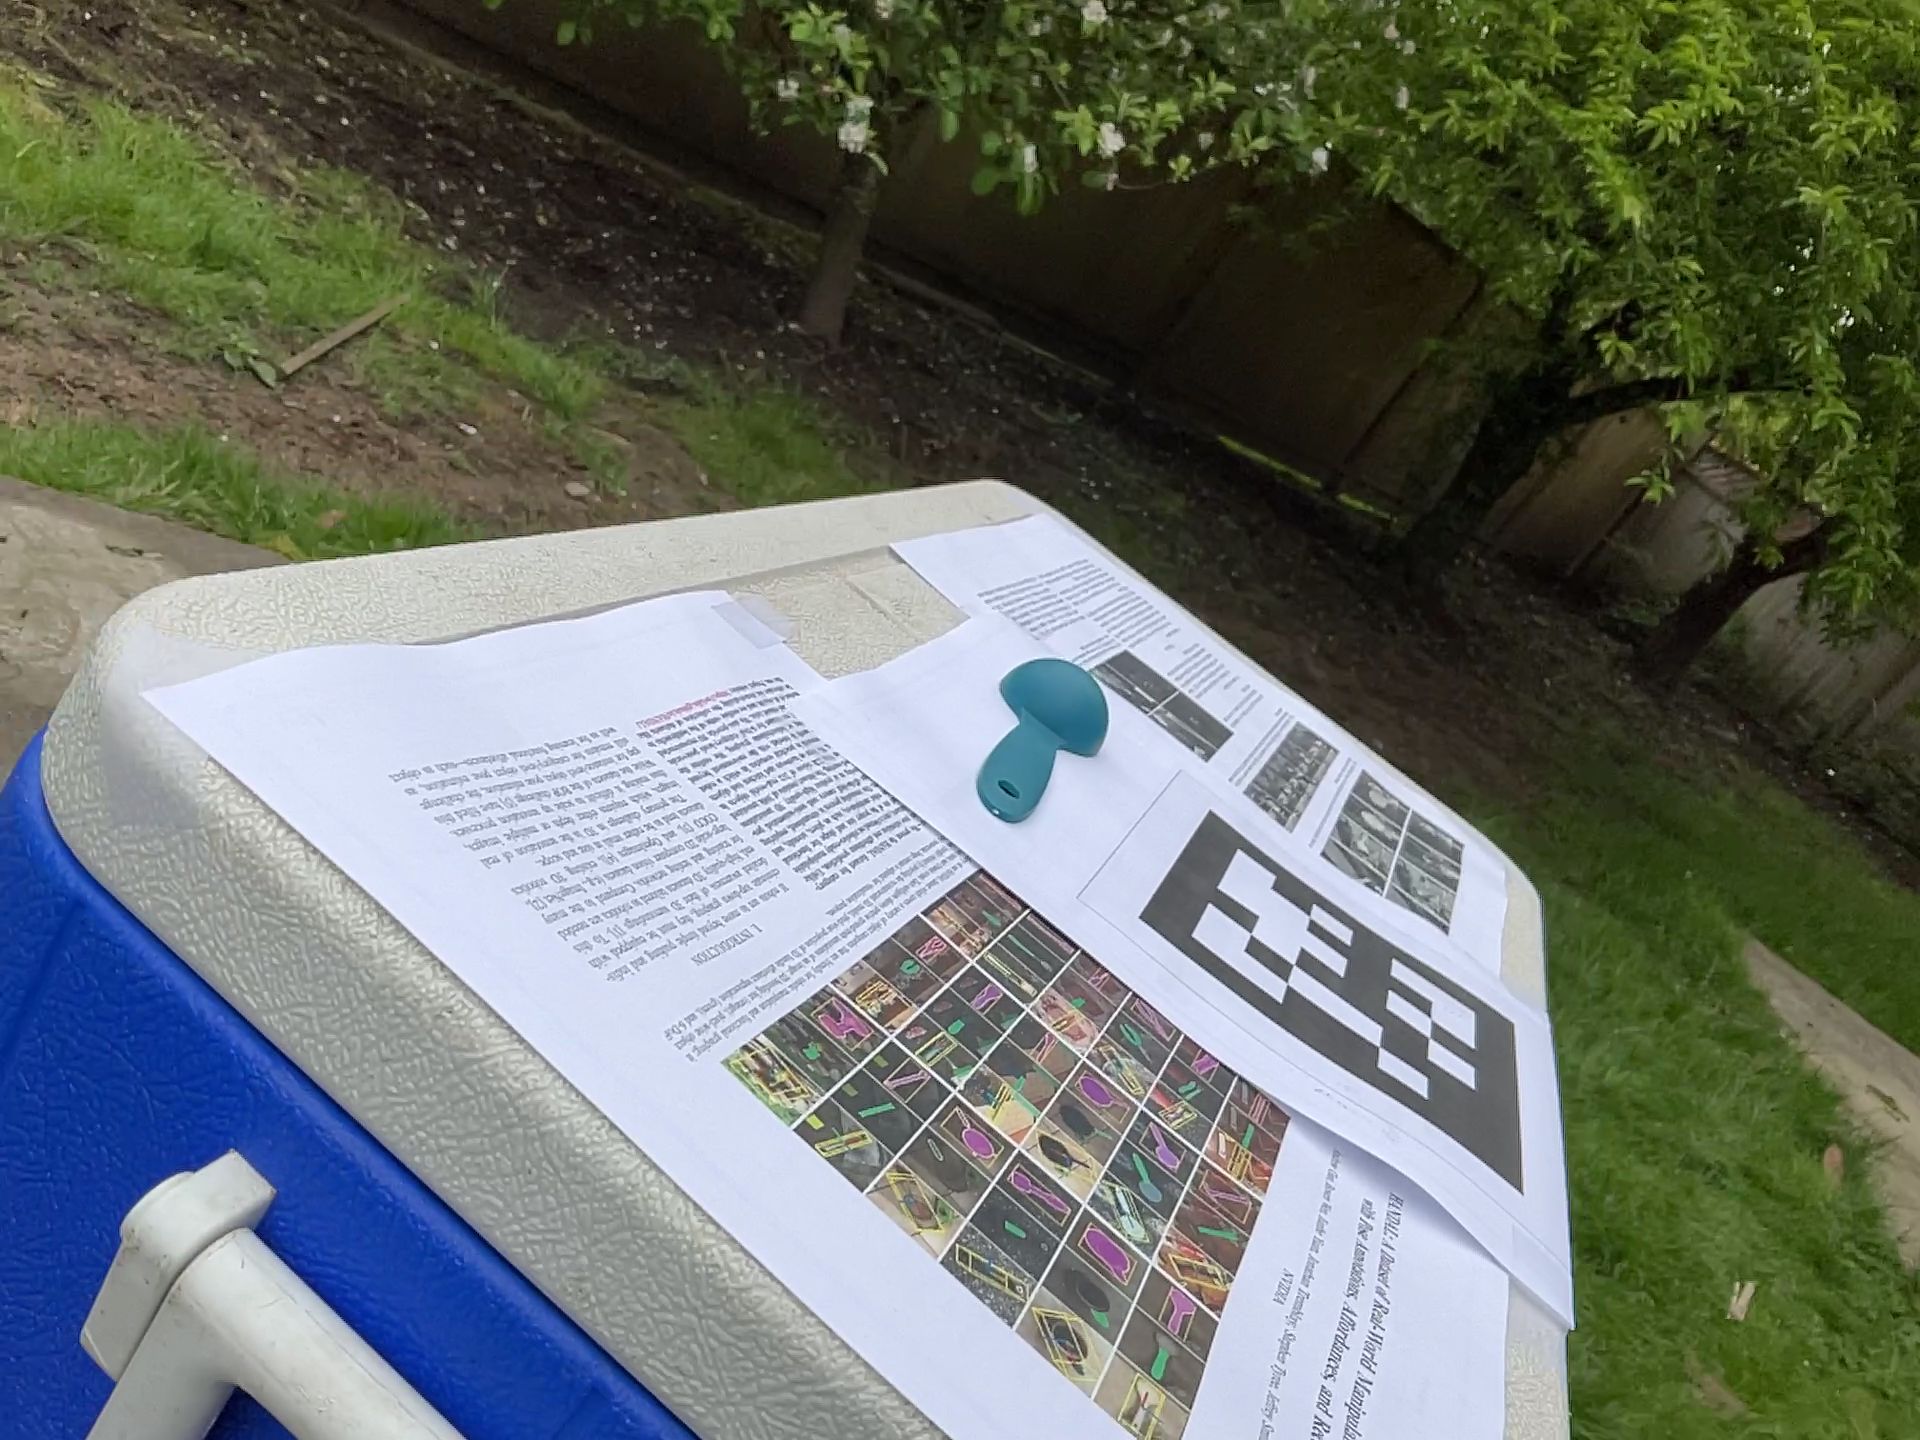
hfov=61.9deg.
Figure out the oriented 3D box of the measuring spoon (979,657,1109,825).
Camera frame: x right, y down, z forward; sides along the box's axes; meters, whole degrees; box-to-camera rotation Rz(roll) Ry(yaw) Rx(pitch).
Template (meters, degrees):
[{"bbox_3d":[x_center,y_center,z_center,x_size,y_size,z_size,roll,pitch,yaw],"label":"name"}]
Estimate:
[{"bbox_3d":[0.028,0.004,0.517,0.042,0.021,0.129,40,20,-2],"label":"measuring spoon"}]
